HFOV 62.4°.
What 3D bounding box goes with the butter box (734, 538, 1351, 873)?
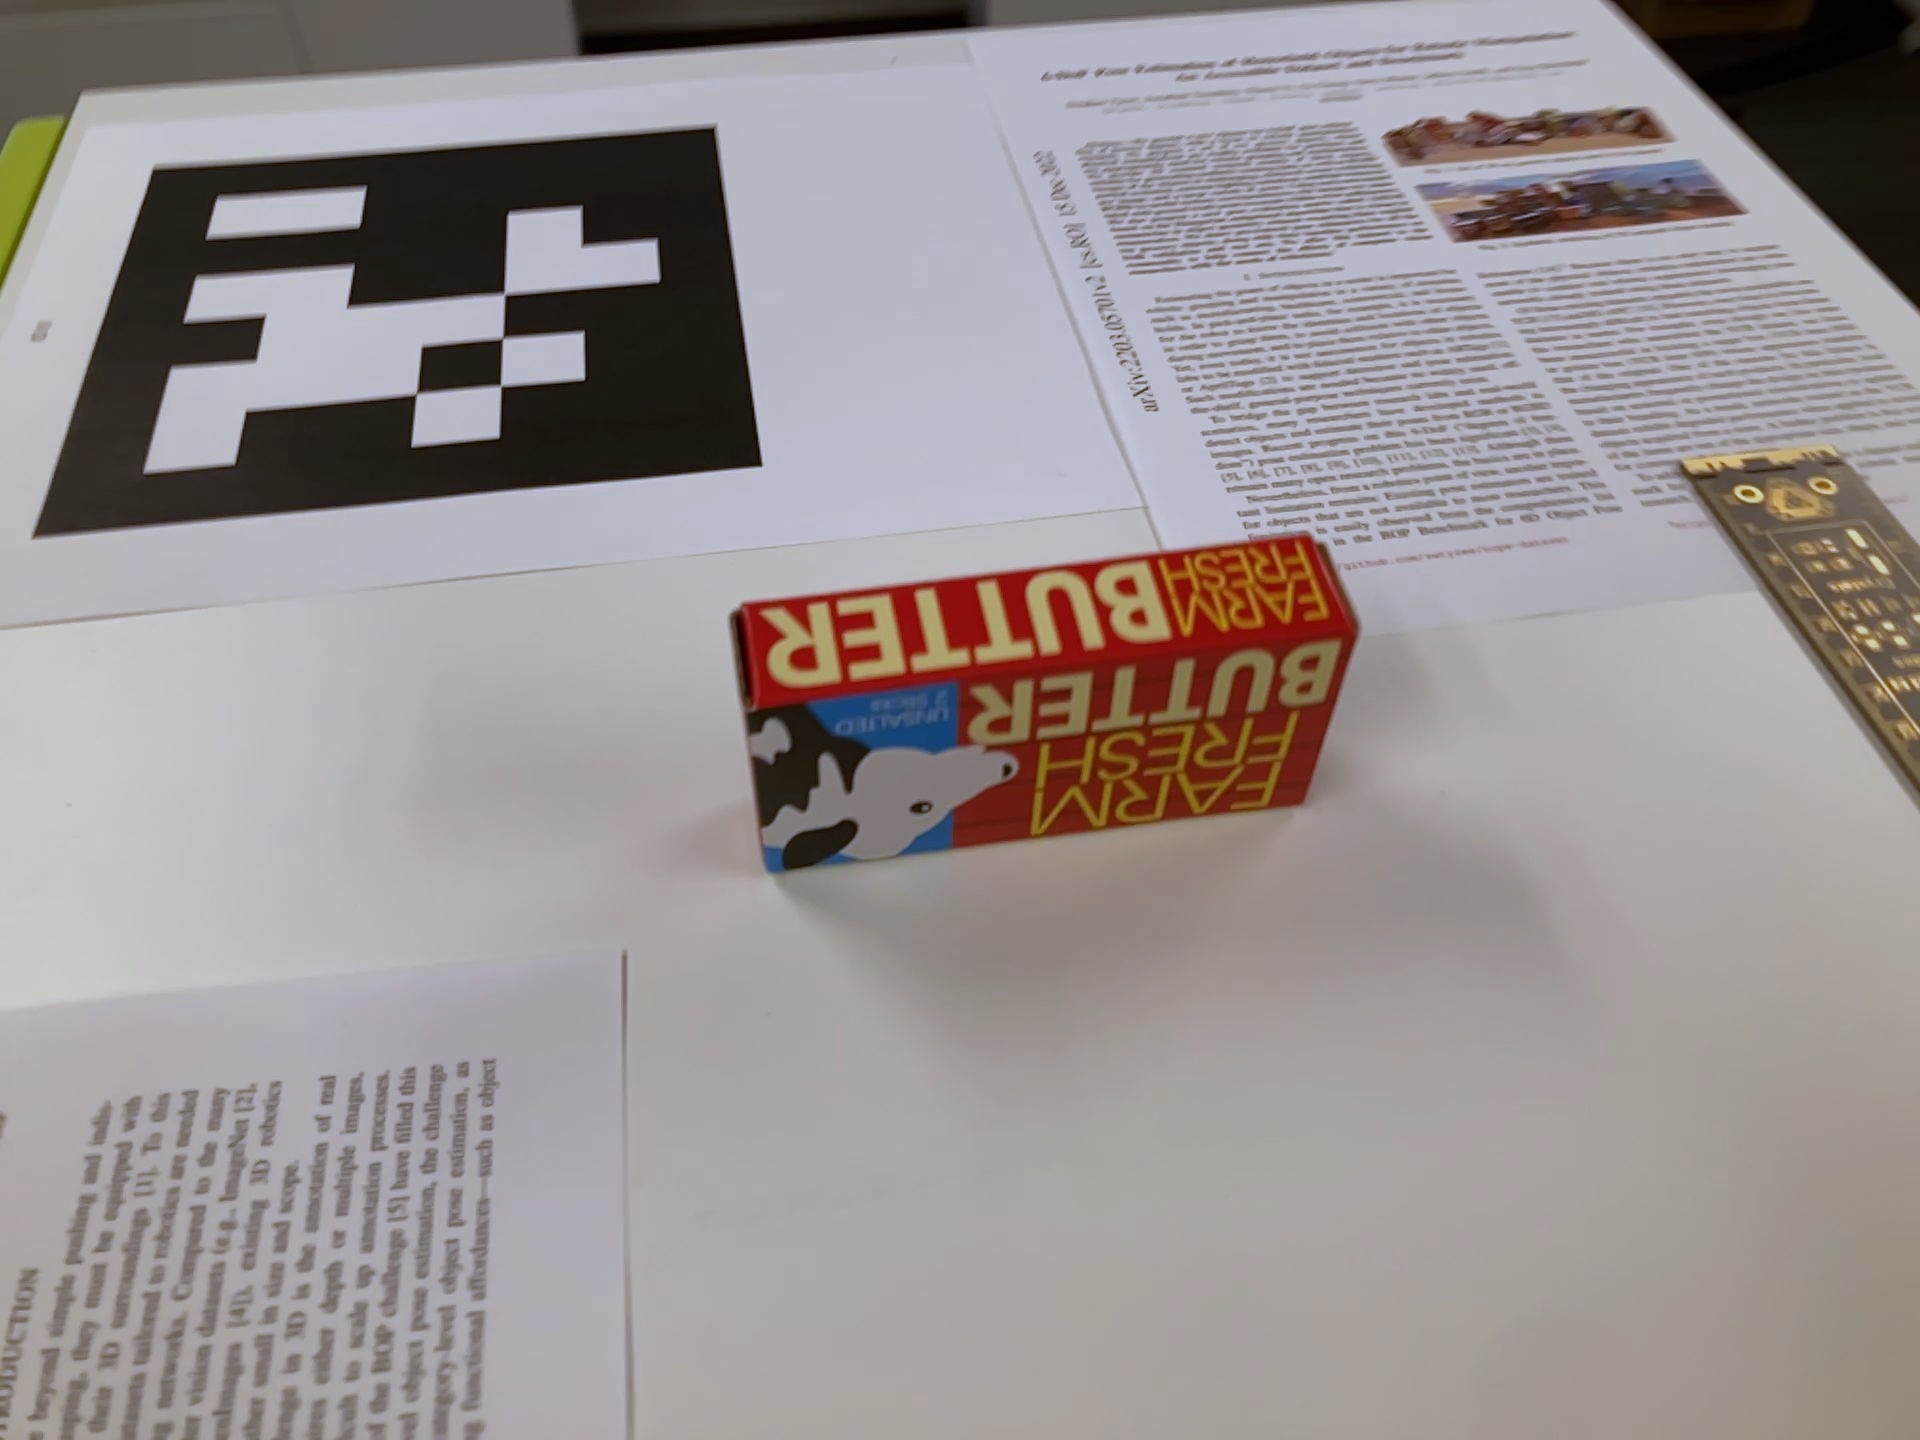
[{"bbox_3d":[0.013,-0.002,0.285,0.103,0.053,0.024,-7,54,-7],"label":"butter box"}]
